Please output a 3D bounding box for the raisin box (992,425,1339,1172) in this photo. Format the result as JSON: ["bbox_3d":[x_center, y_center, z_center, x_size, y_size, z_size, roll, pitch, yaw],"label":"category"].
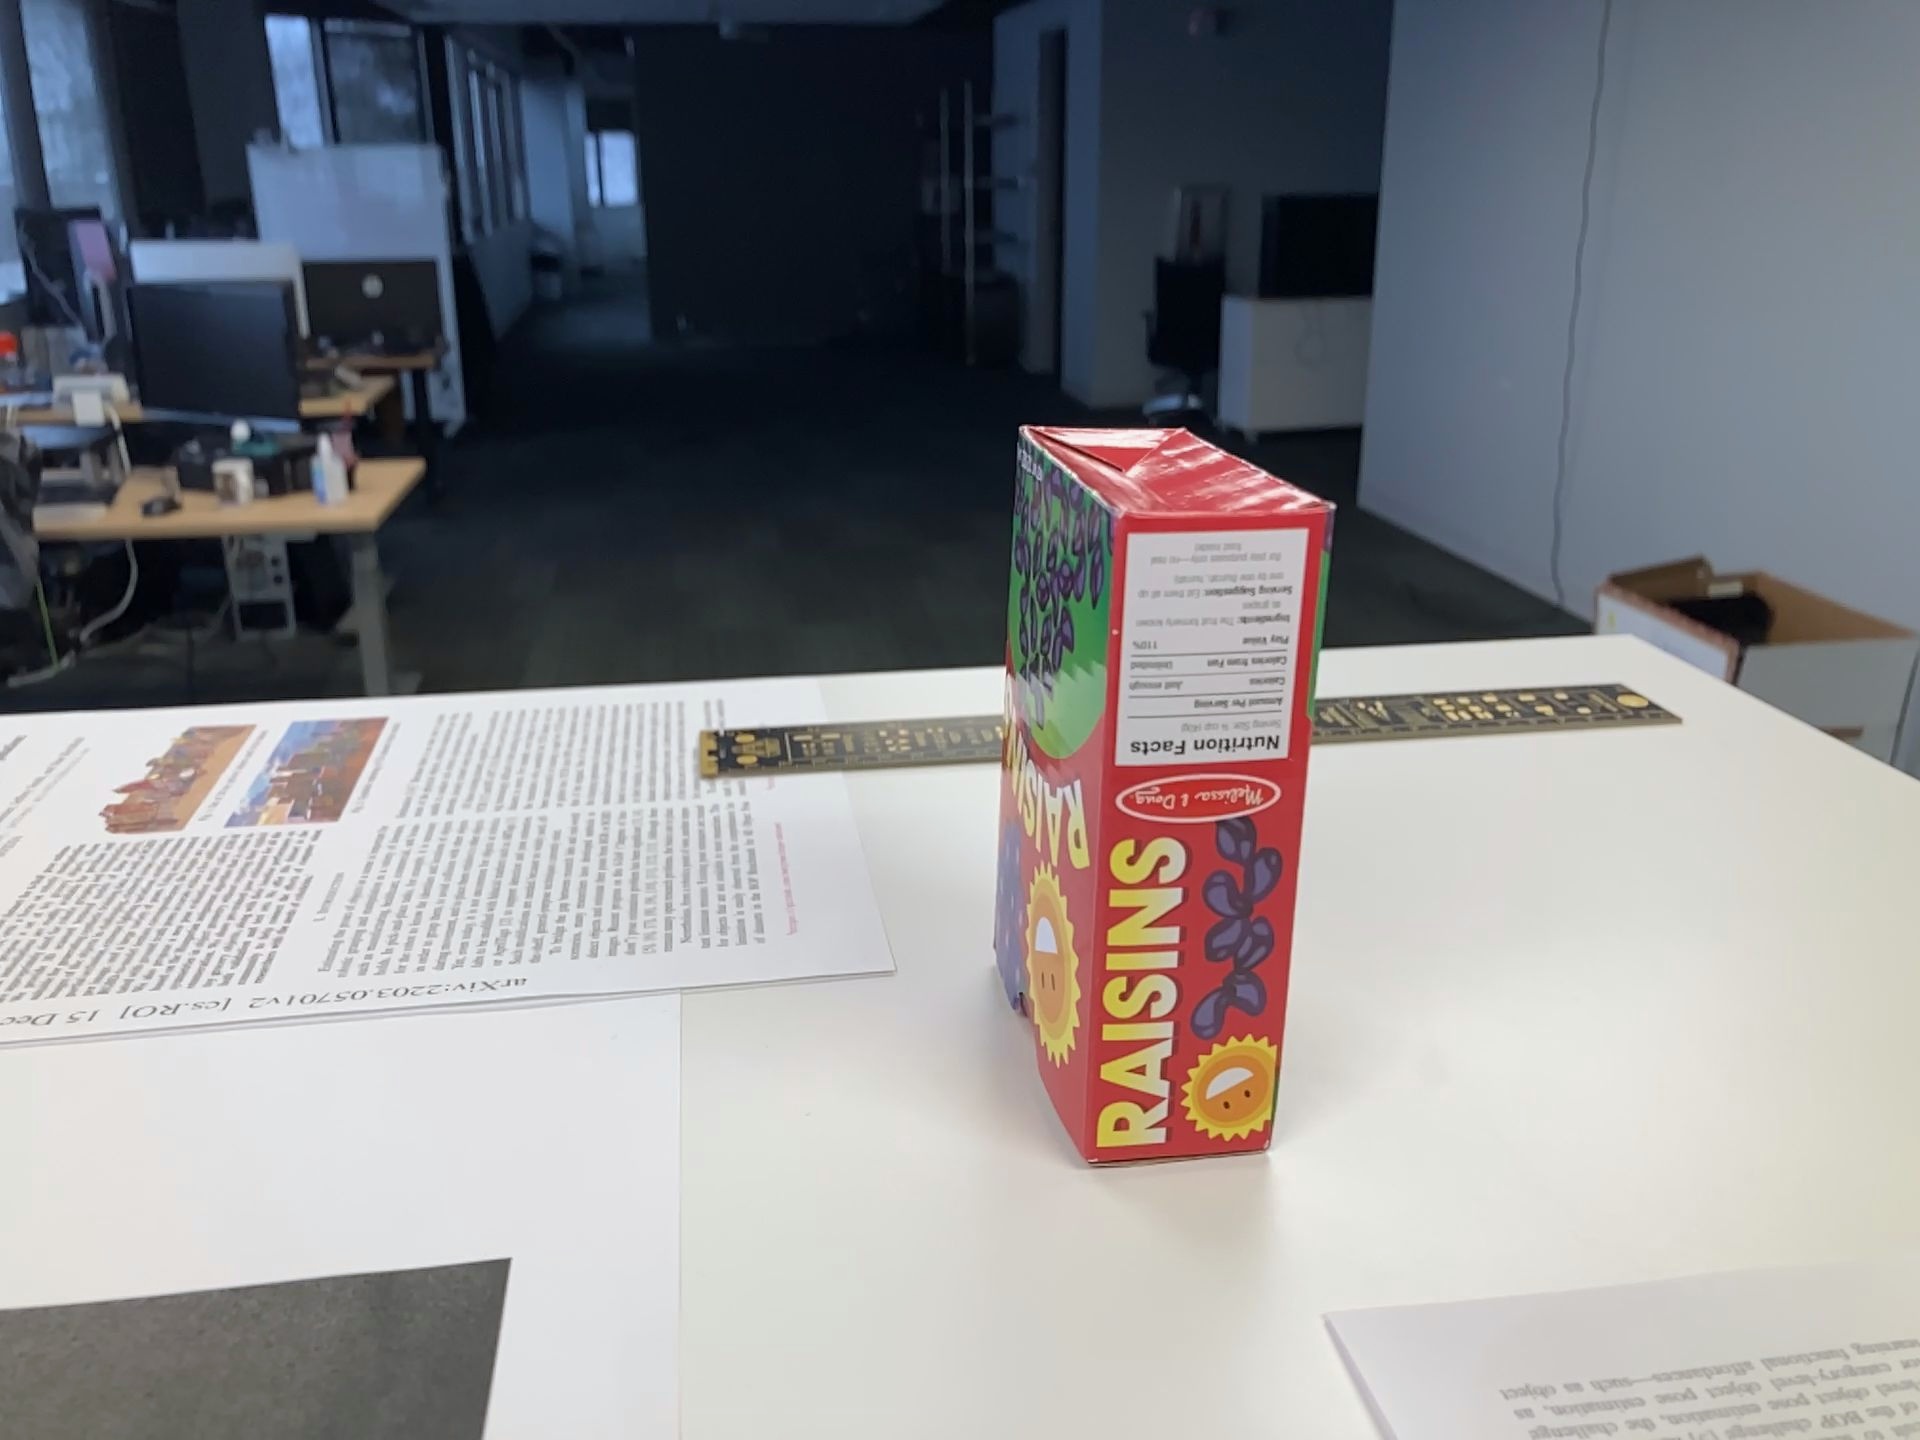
[{"bbox_3d":[0.034,0.010,0.310,0.040,0.123,0.086,-2,19,-10],"label":"raisin box"}]
